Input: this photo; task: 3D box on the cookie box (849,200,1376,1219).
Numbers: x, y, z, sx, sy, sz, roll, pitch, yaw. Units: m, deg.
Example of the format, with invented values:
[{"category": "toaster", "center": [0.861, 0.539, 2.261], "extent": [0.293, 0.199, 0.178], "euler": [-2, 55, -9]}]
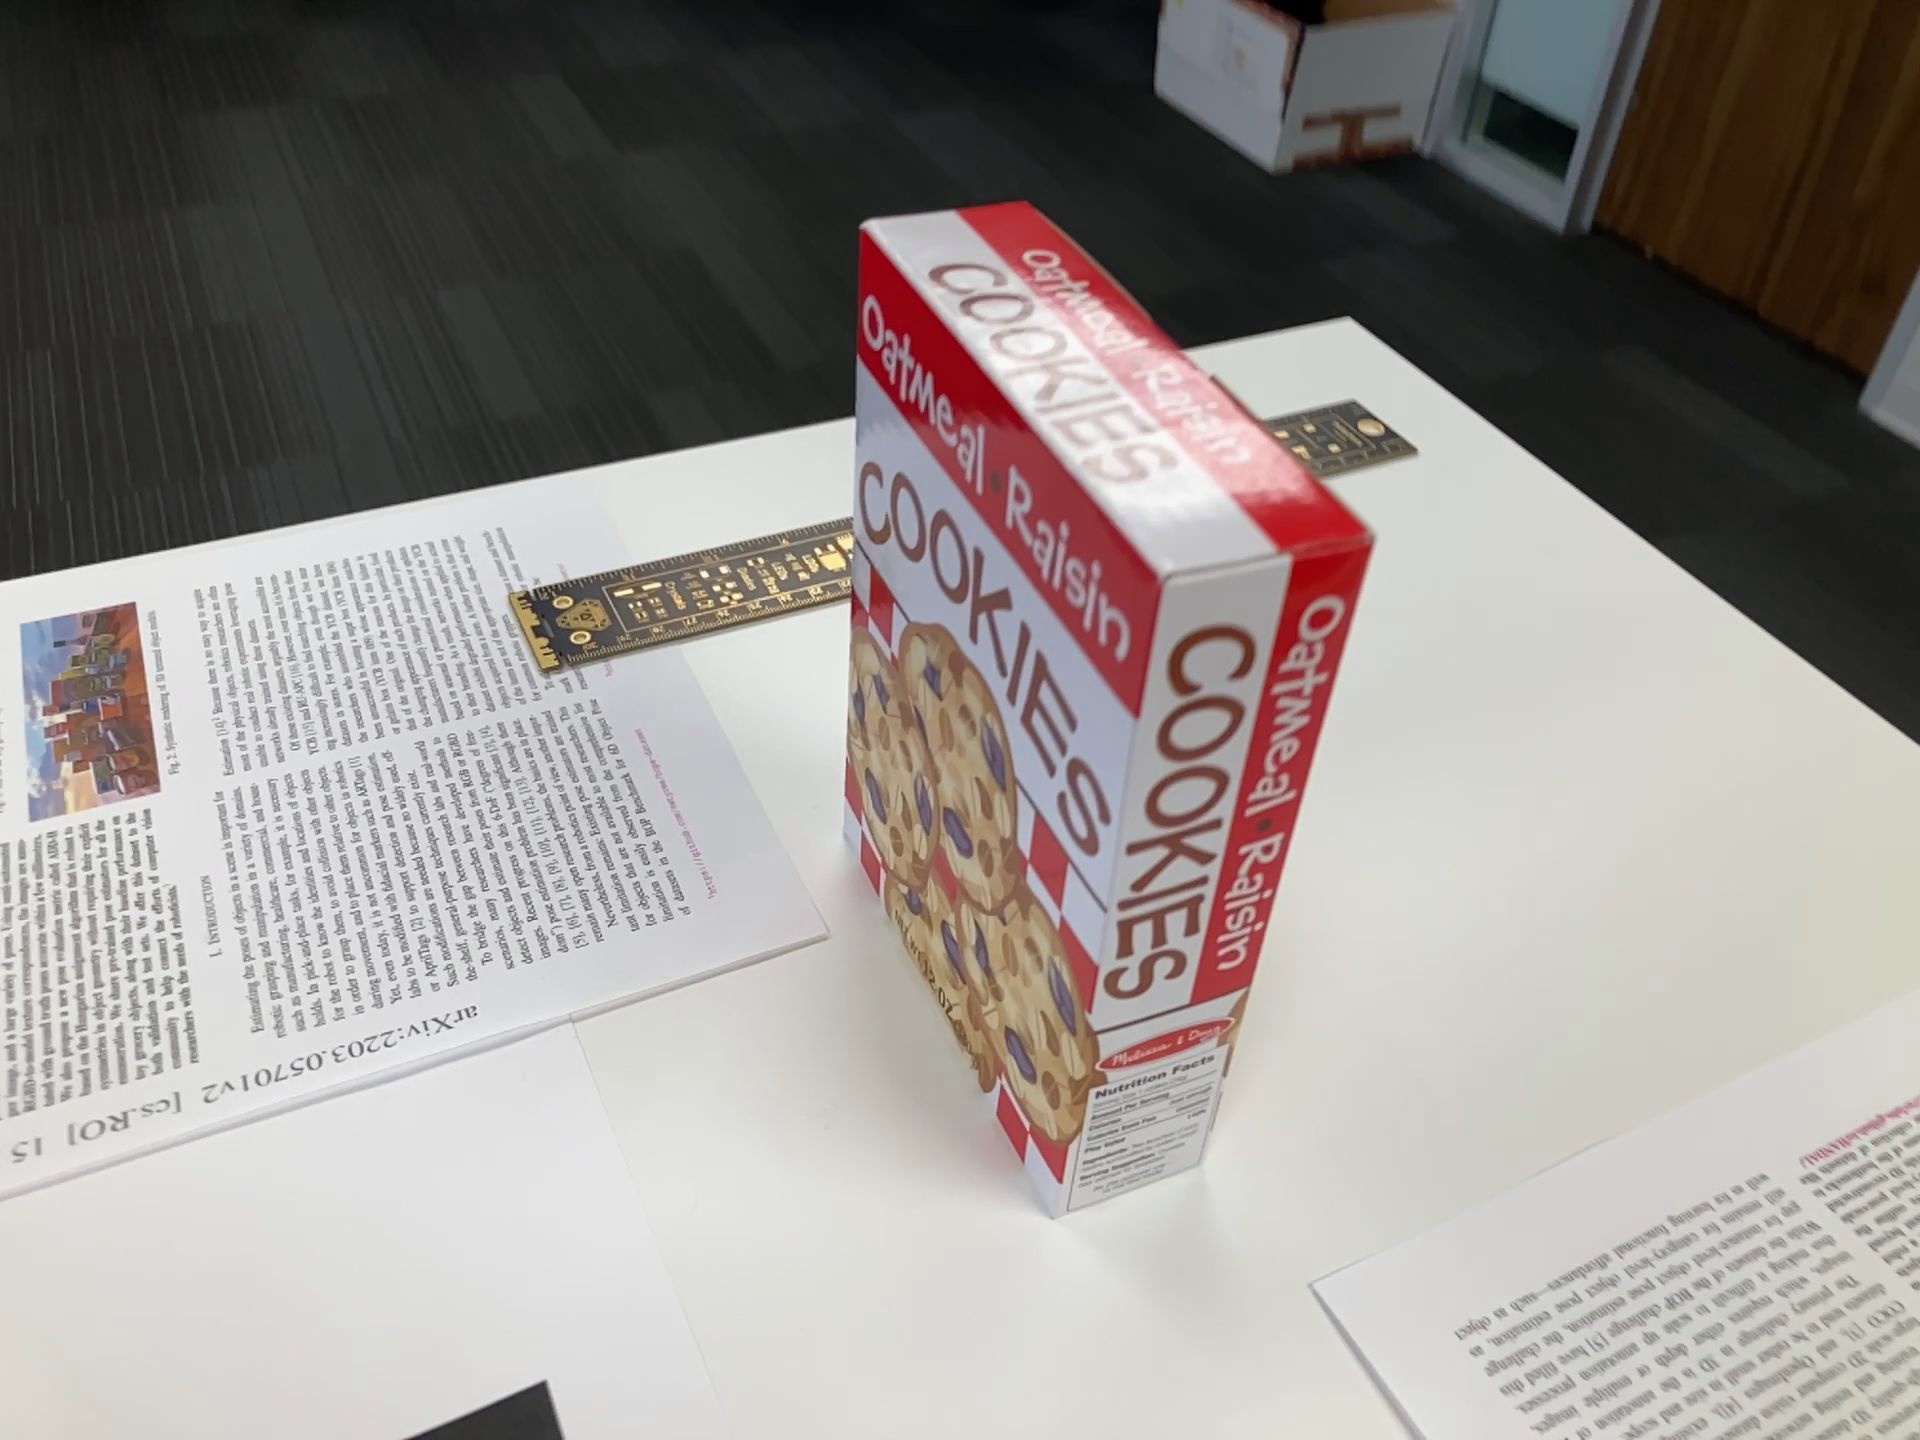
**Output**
[{"category": "cookie box", "center": [0.017, -0.001, 0.321], "extent": [0.040, 0.167, 0.123], "euler": [-14, 44, -20]}]
